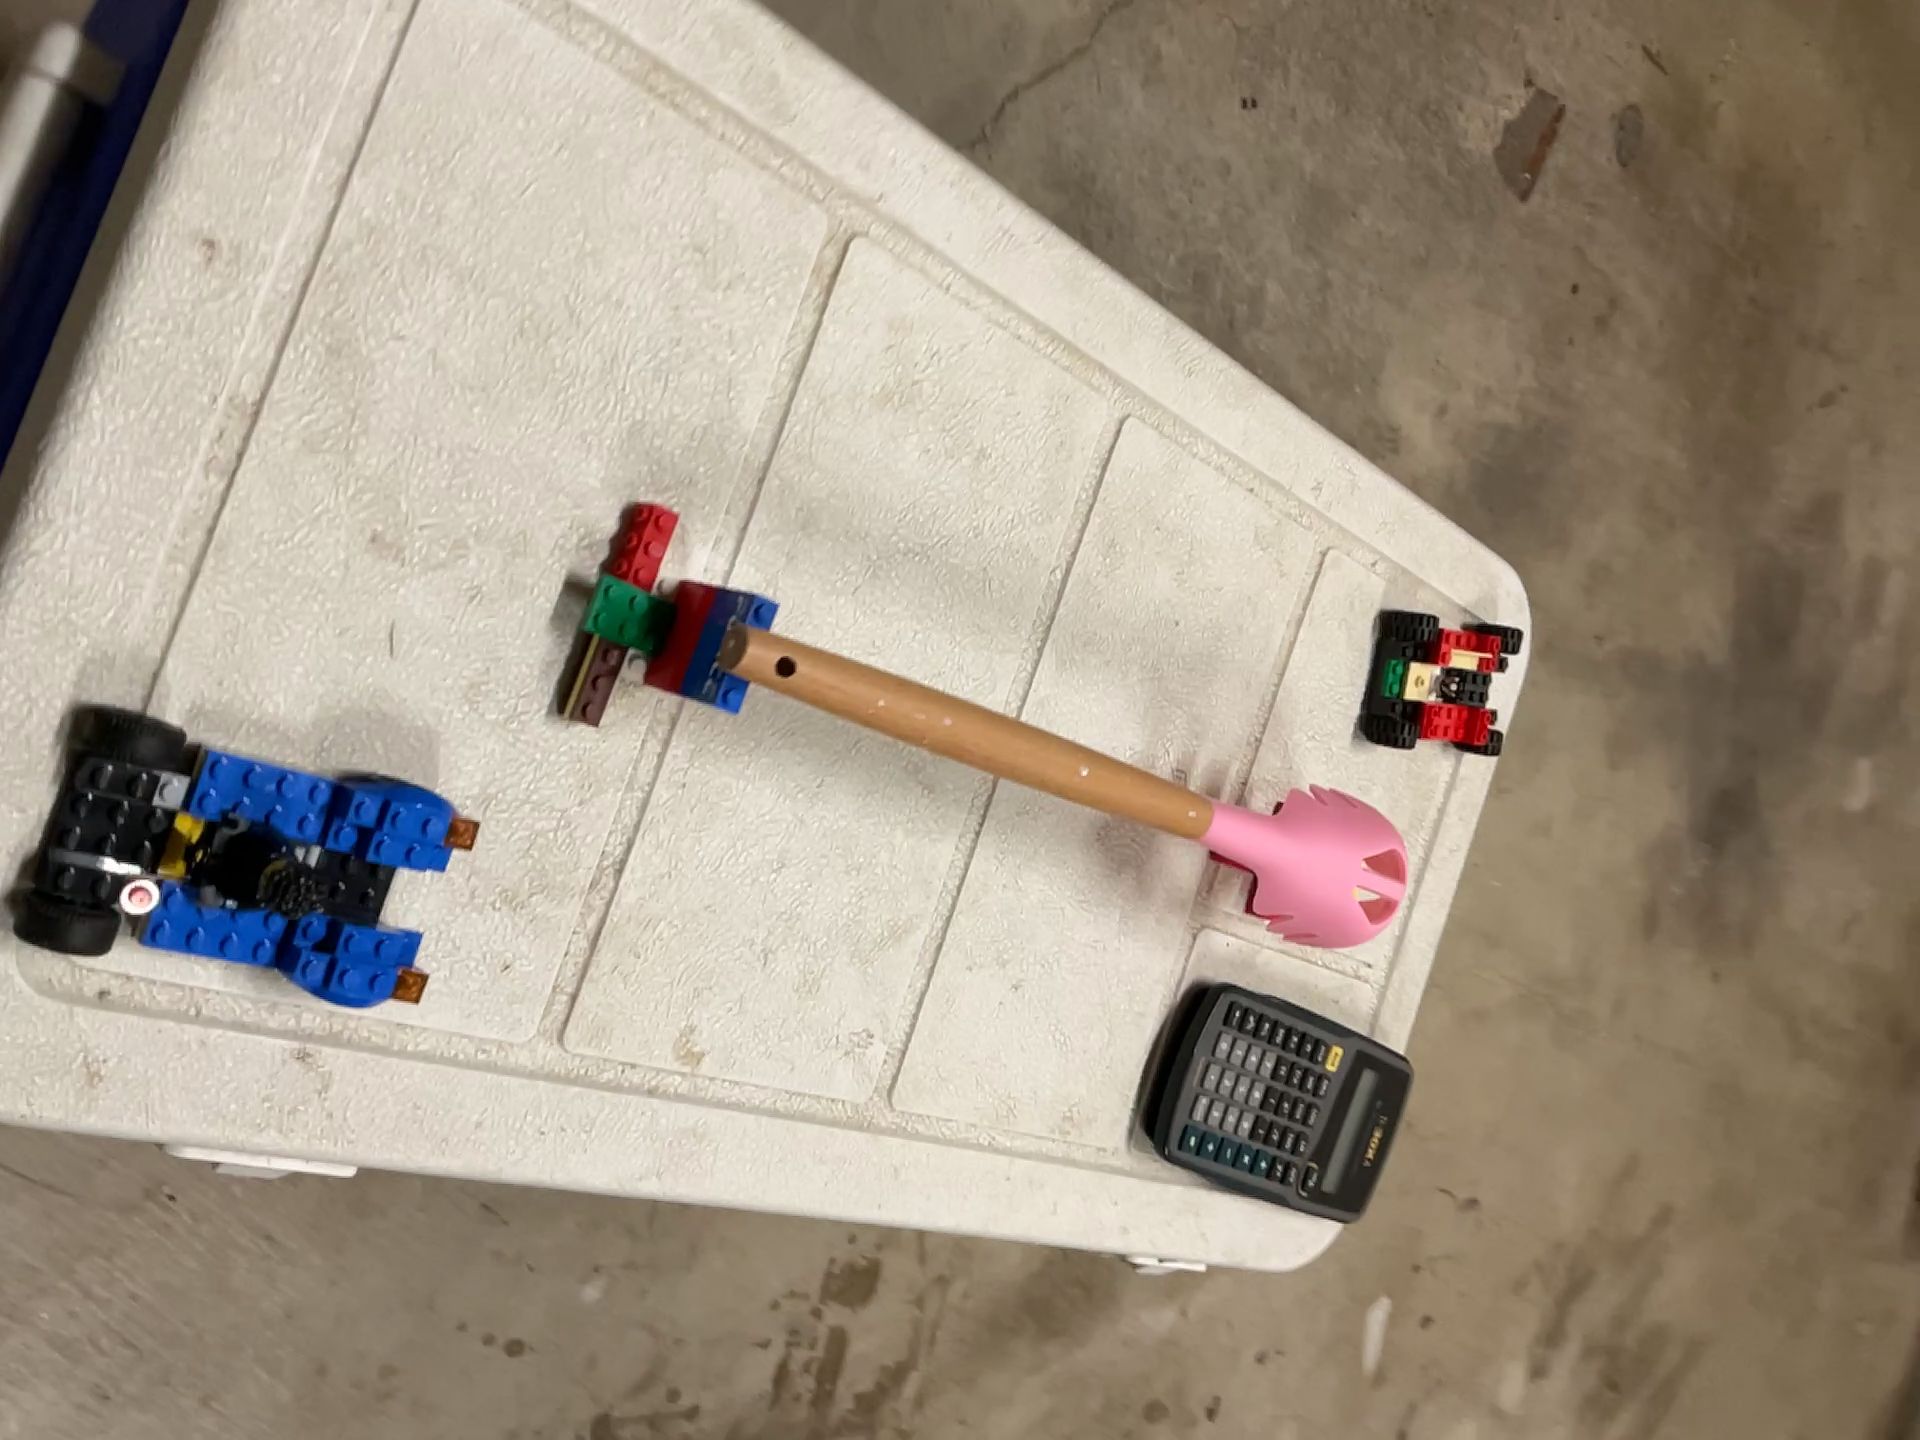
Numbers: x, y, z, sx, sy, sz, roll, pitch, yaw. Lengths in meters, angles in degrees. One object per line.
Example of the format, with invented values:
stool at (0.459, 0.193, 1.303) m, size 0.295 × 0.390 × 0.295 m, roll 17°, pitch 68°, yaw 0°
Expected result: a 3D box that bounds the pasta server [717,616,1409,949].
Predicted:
pasta server at (0.052, 0.023, 0.510) m, size 0.316 × 0.040 × 0.060 m, roll 21°, pitch 87°, yaw -38°
